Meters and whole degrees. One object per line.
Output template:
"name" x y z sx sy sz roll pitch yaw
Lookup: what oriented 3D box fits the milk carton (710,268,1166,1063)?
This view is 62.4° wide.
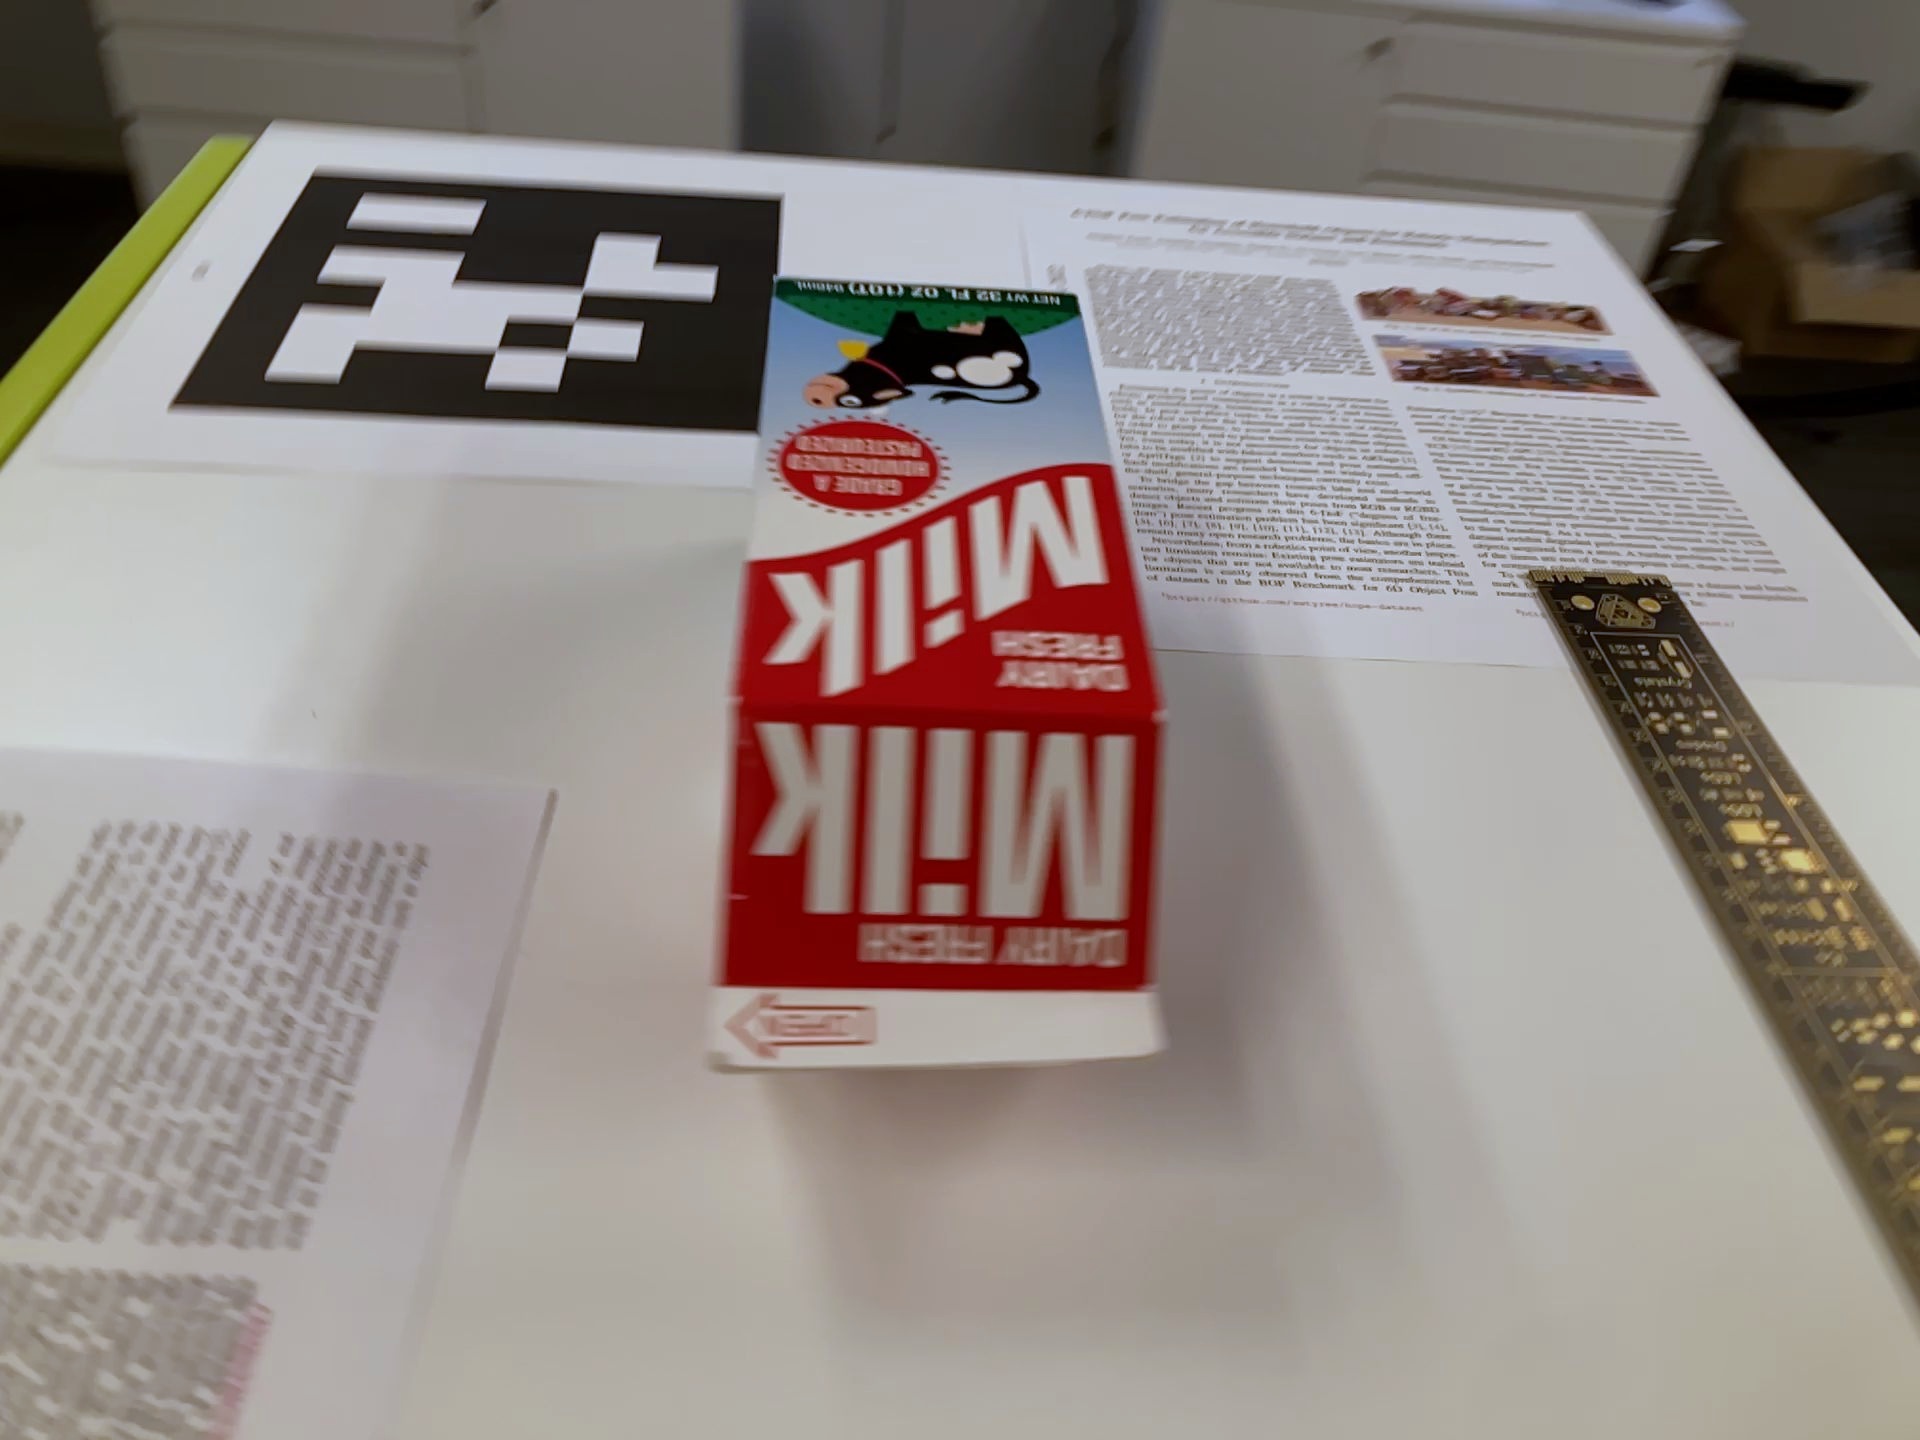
"milk carton" -0.007 -0.012 0.313 0.072 0.073 0.190 3 41 -6
